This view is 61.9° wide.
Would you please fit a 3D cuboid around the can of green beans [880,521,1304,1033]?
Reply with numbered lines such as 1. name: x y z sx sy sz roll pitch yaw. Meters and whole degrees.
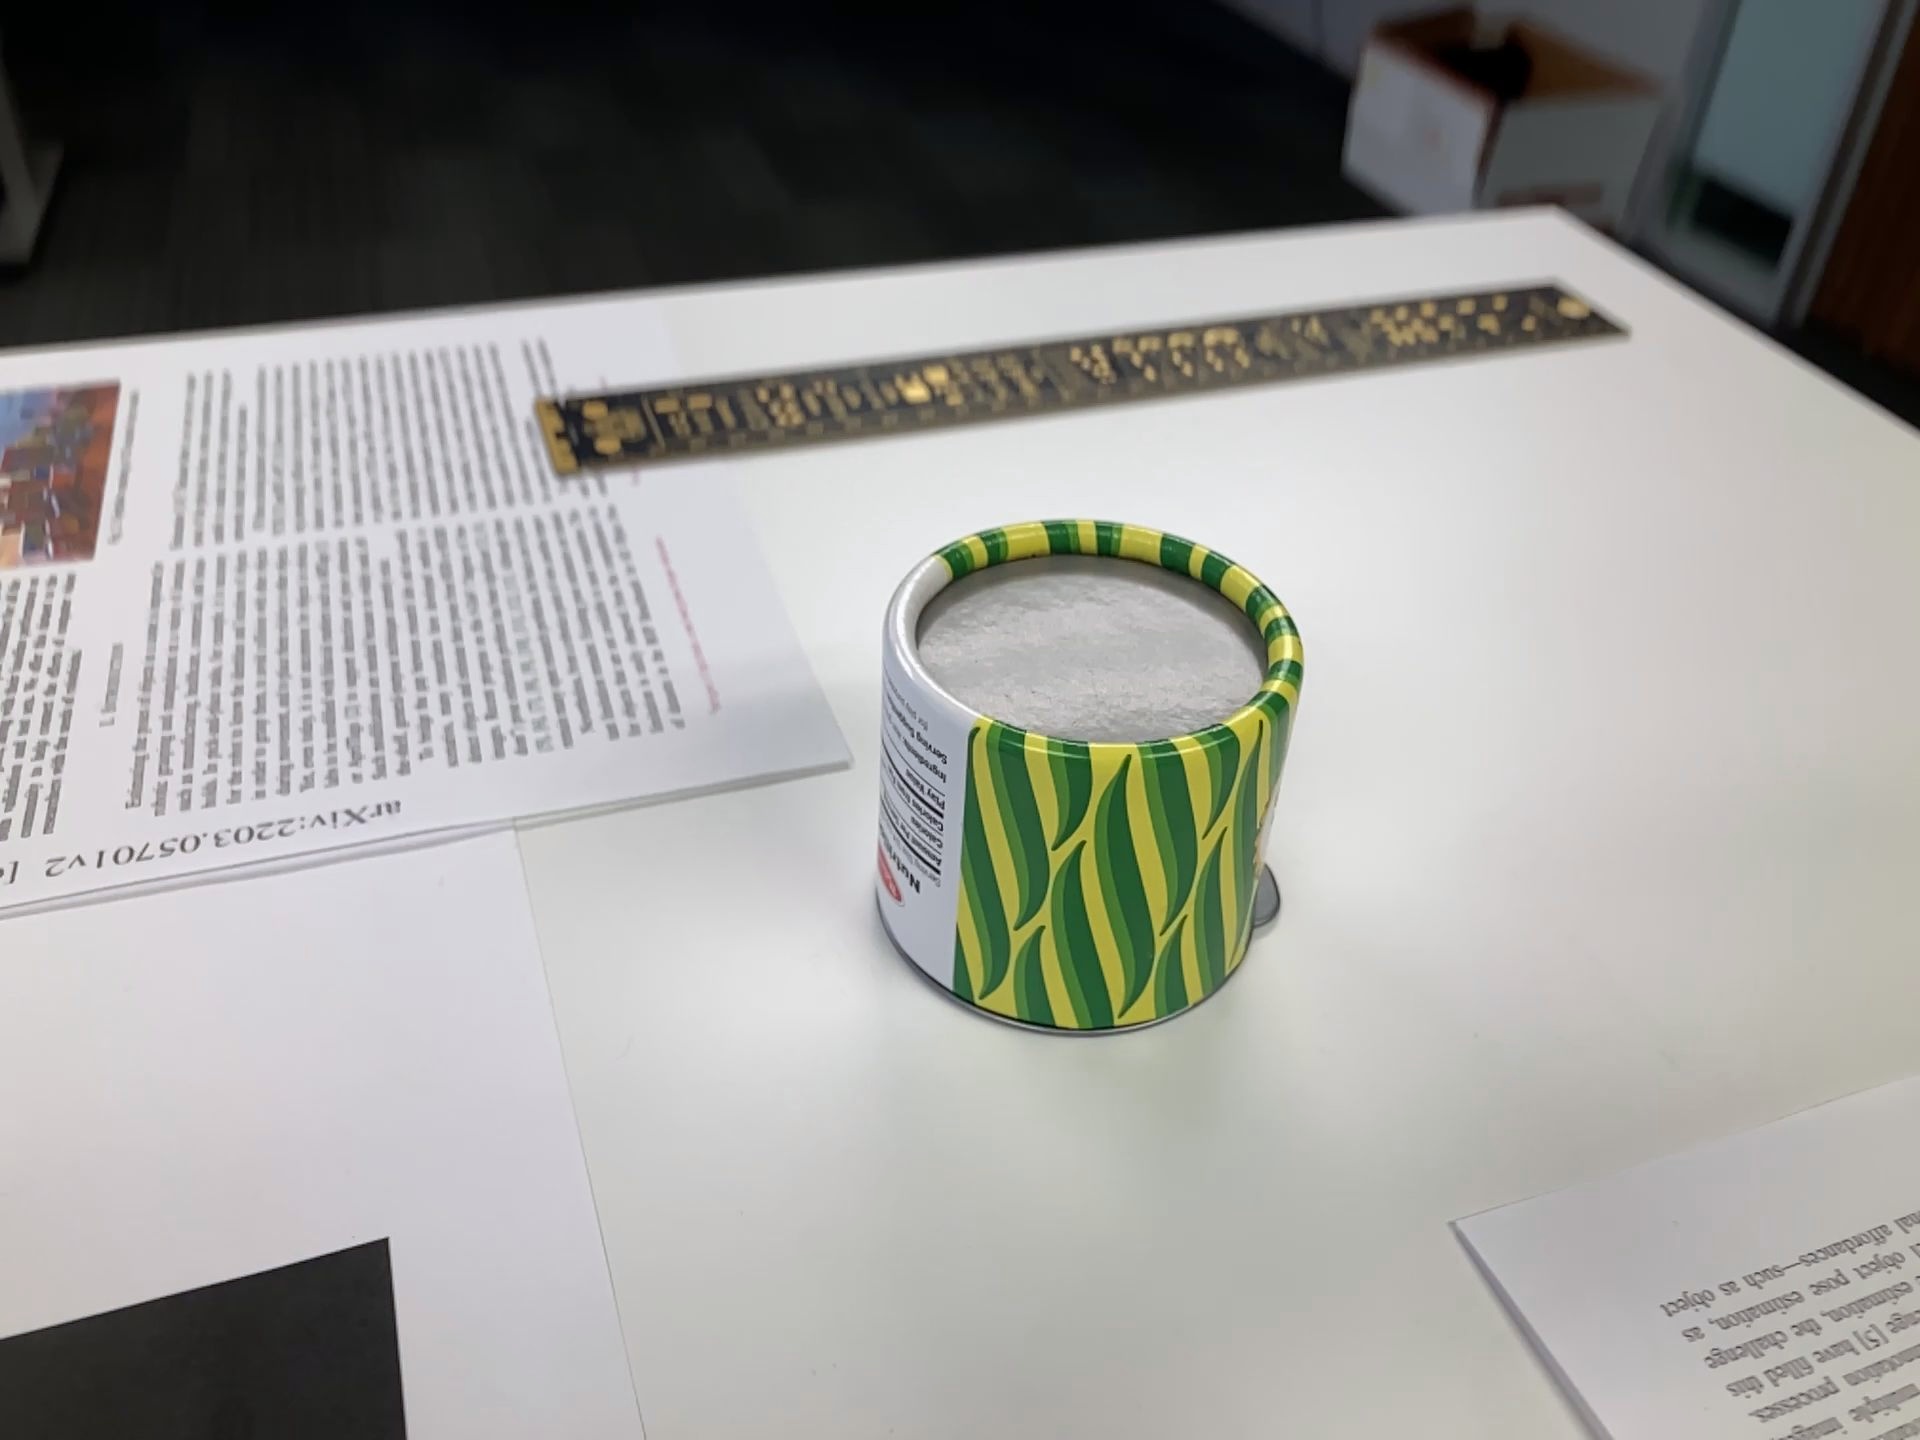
1. can of green beans: 0.020 0.008 0.266 0.071 0.058 0.071 2 38 -1
